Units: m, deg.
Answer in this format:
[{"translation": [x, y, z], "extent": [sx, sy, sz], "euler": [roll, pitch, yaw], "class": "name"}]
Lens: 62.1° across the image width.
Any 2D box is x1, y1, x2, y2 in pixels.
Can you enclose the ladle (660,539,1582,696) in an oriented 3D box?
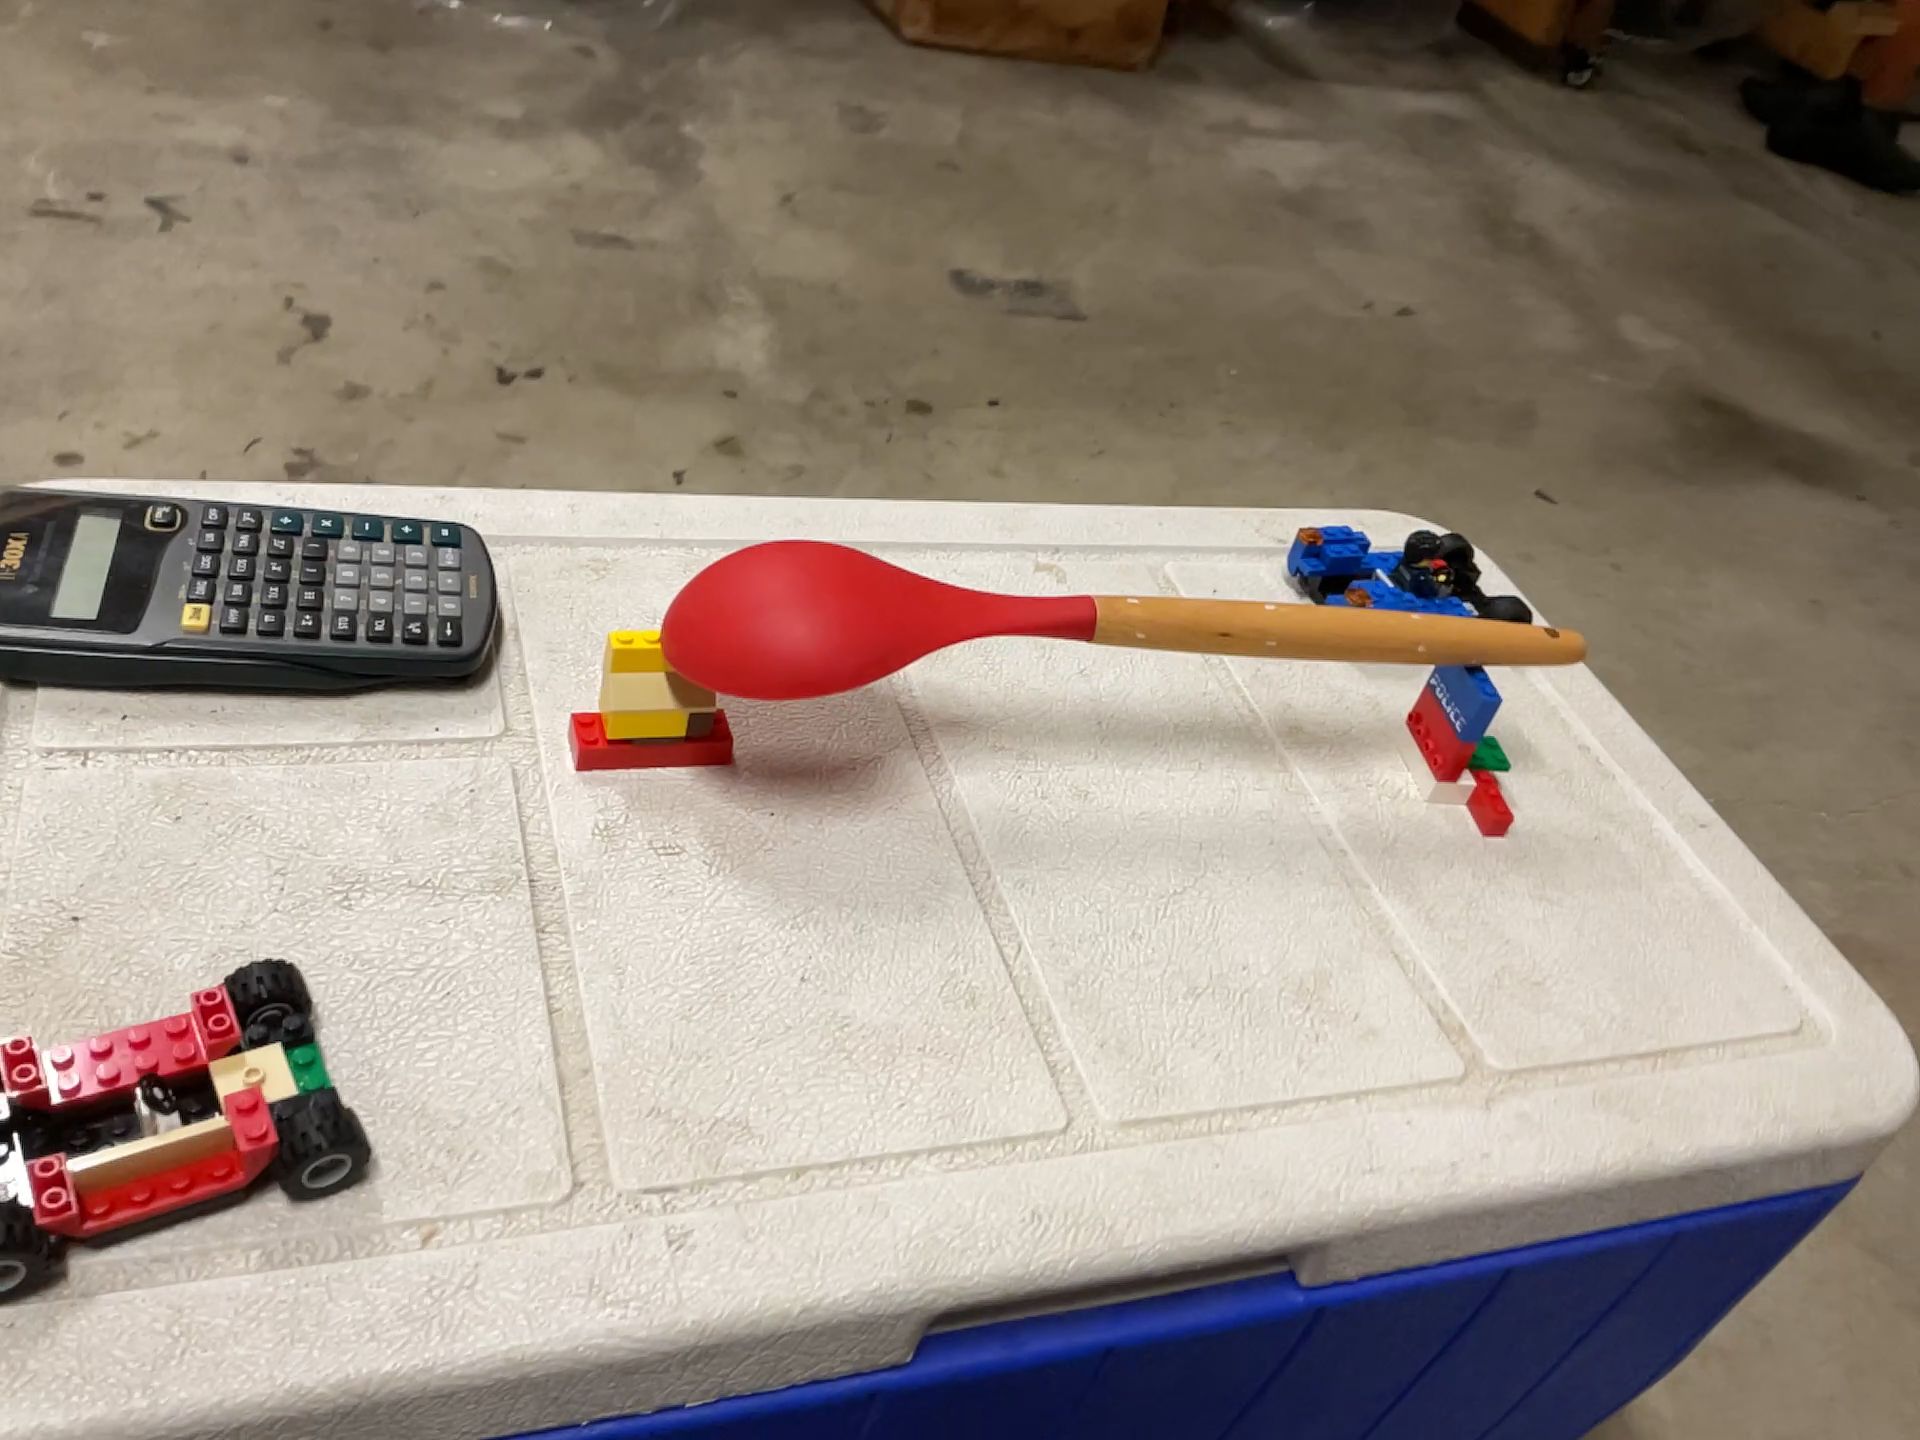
[{"translation": [0.065, -0.029, 0.510], "extent": [0.315, 0.031, 0.069], "euler": [2, 40, -18], "class": "ladle"}]
